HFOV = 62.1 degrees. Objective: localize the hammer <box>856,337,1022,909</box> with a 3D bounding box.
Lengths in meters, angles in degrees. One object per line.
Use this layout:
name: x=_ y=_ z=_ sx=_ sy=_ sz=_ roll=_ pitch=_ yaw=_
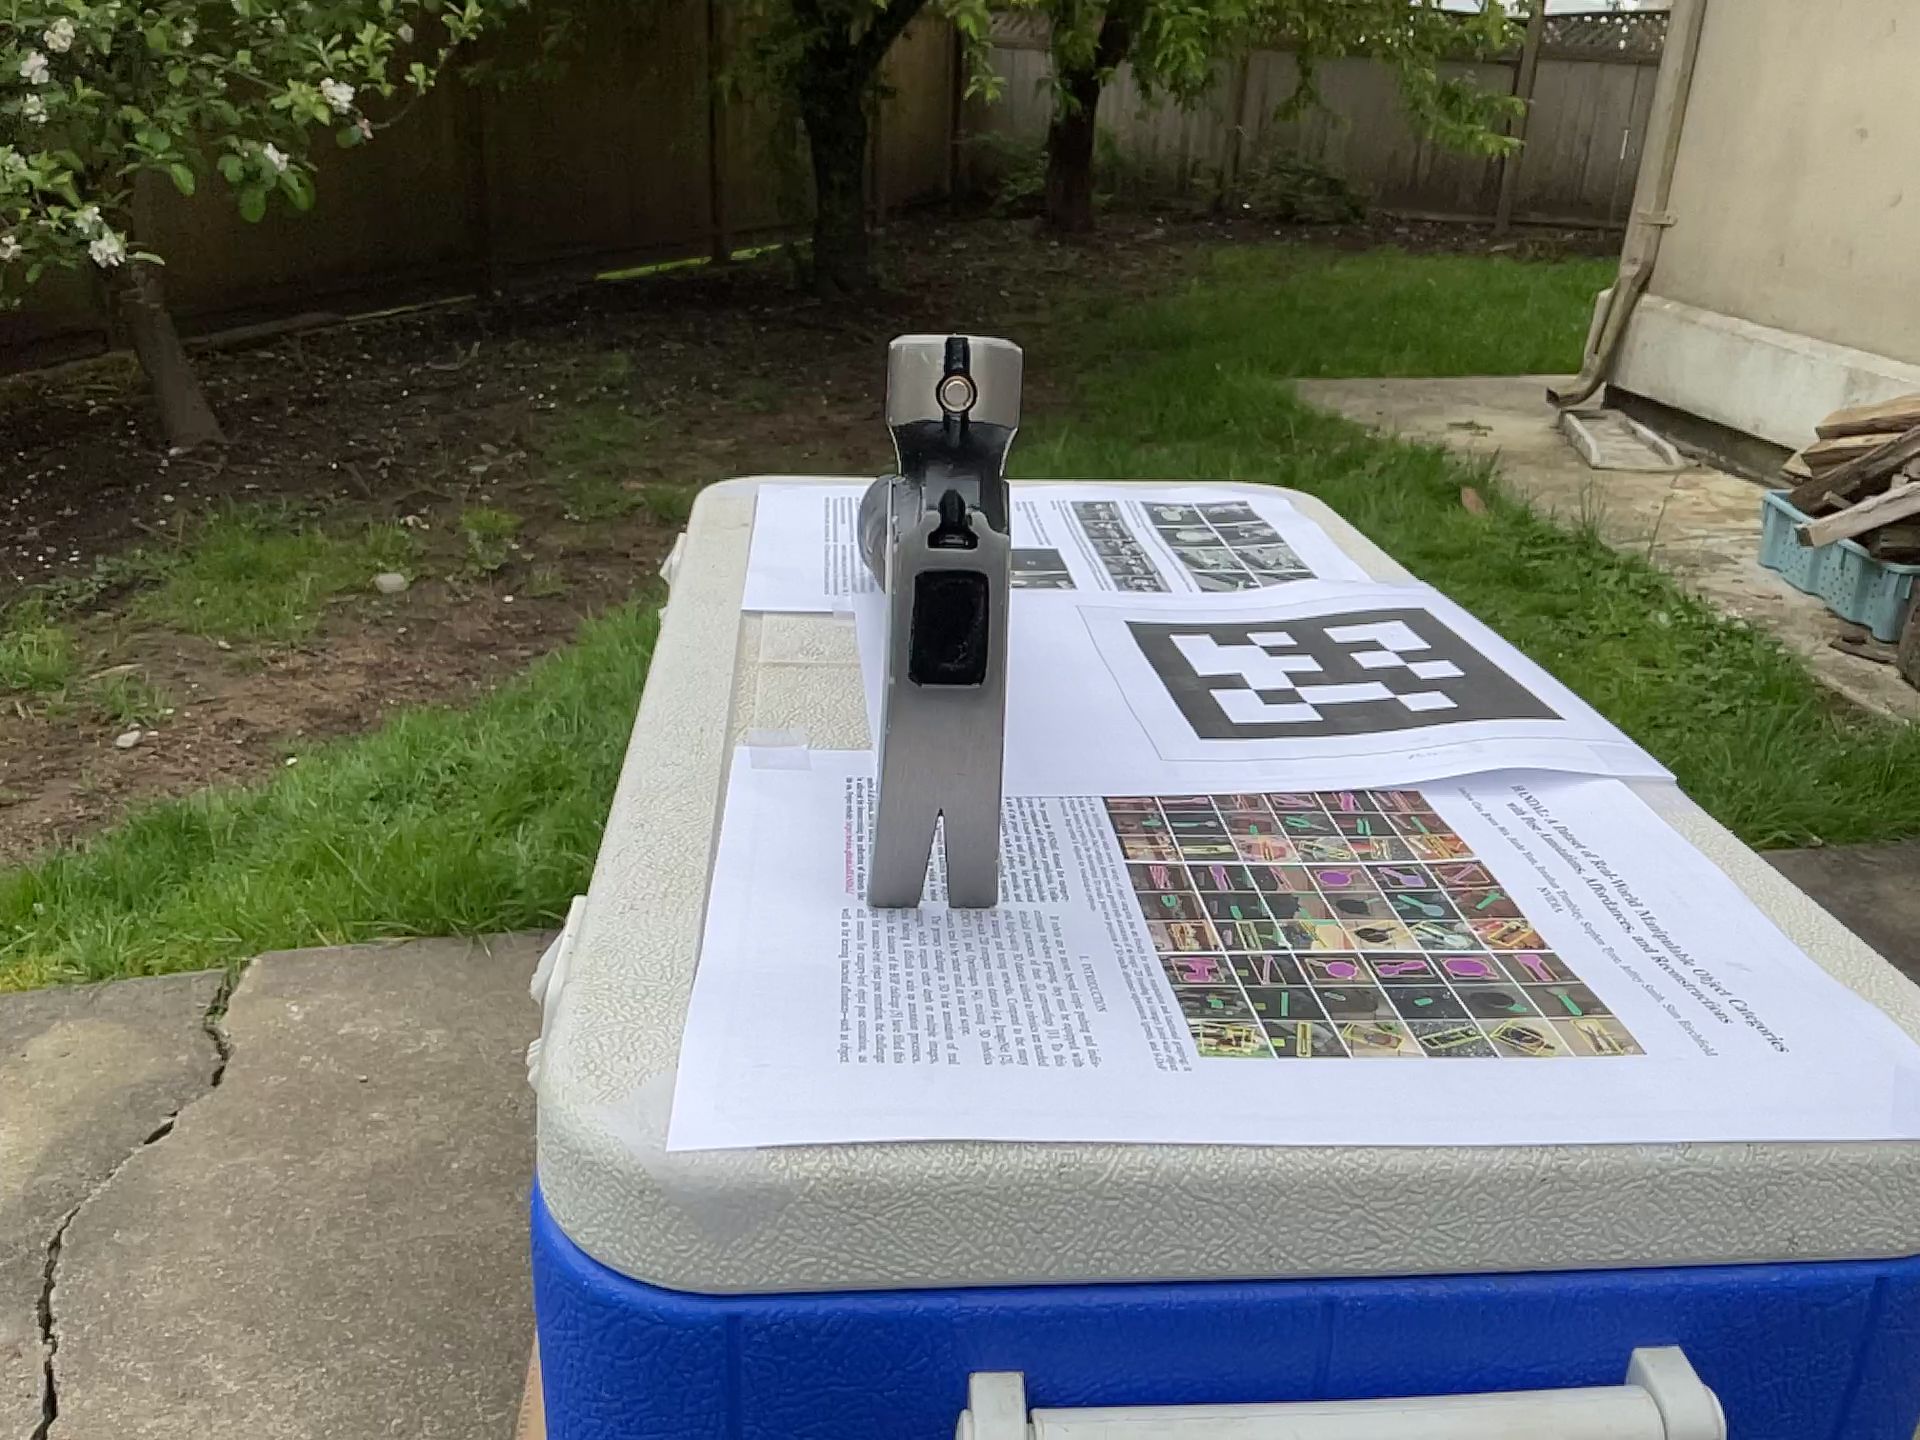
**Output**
hammer: x=-0.017 y=-0.046 z=0.543 sx=0.035 sy=0.146 sz=0.335 roll=2 pitch=10 yaw=-5
